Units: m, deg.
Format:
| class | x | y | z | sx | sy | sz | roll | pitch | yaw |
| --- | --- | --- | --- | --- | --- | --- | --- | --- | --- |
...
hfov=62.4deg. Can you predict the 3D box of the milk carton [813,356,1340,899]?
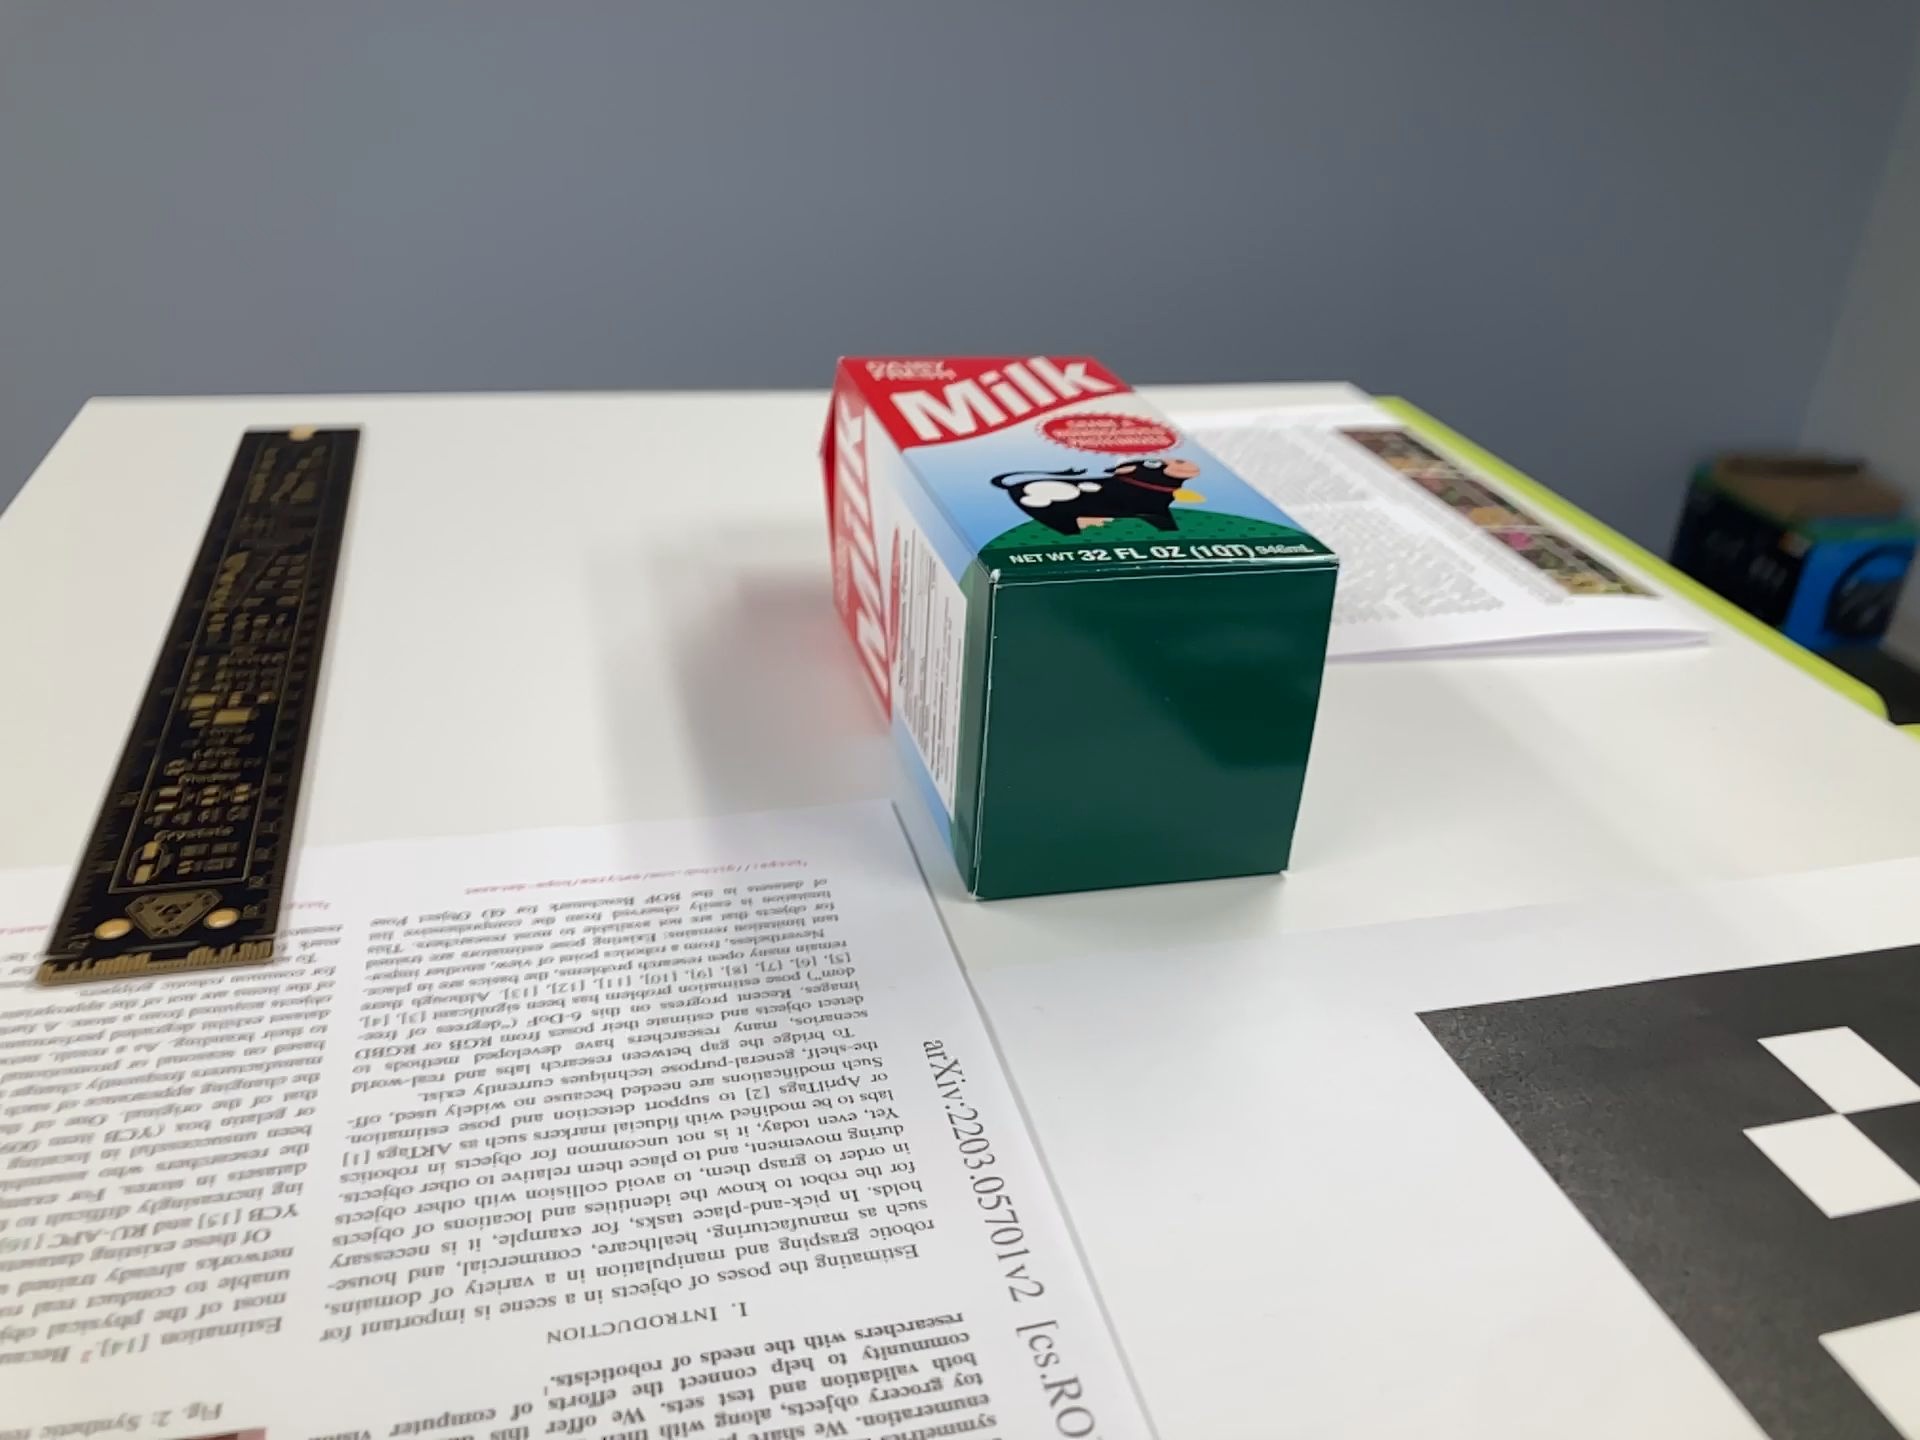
| class | x | y | z | sx | sy | sz | roll | pitch | yaw |
| --- | --- | --- | --- | --- | --- | --- | --- | --- | --- |
| milk carton | 0.014 | -0.041 | 0.388 | 0.072 | 0.073 | 0.190 | -5 | 28 | -14 |
